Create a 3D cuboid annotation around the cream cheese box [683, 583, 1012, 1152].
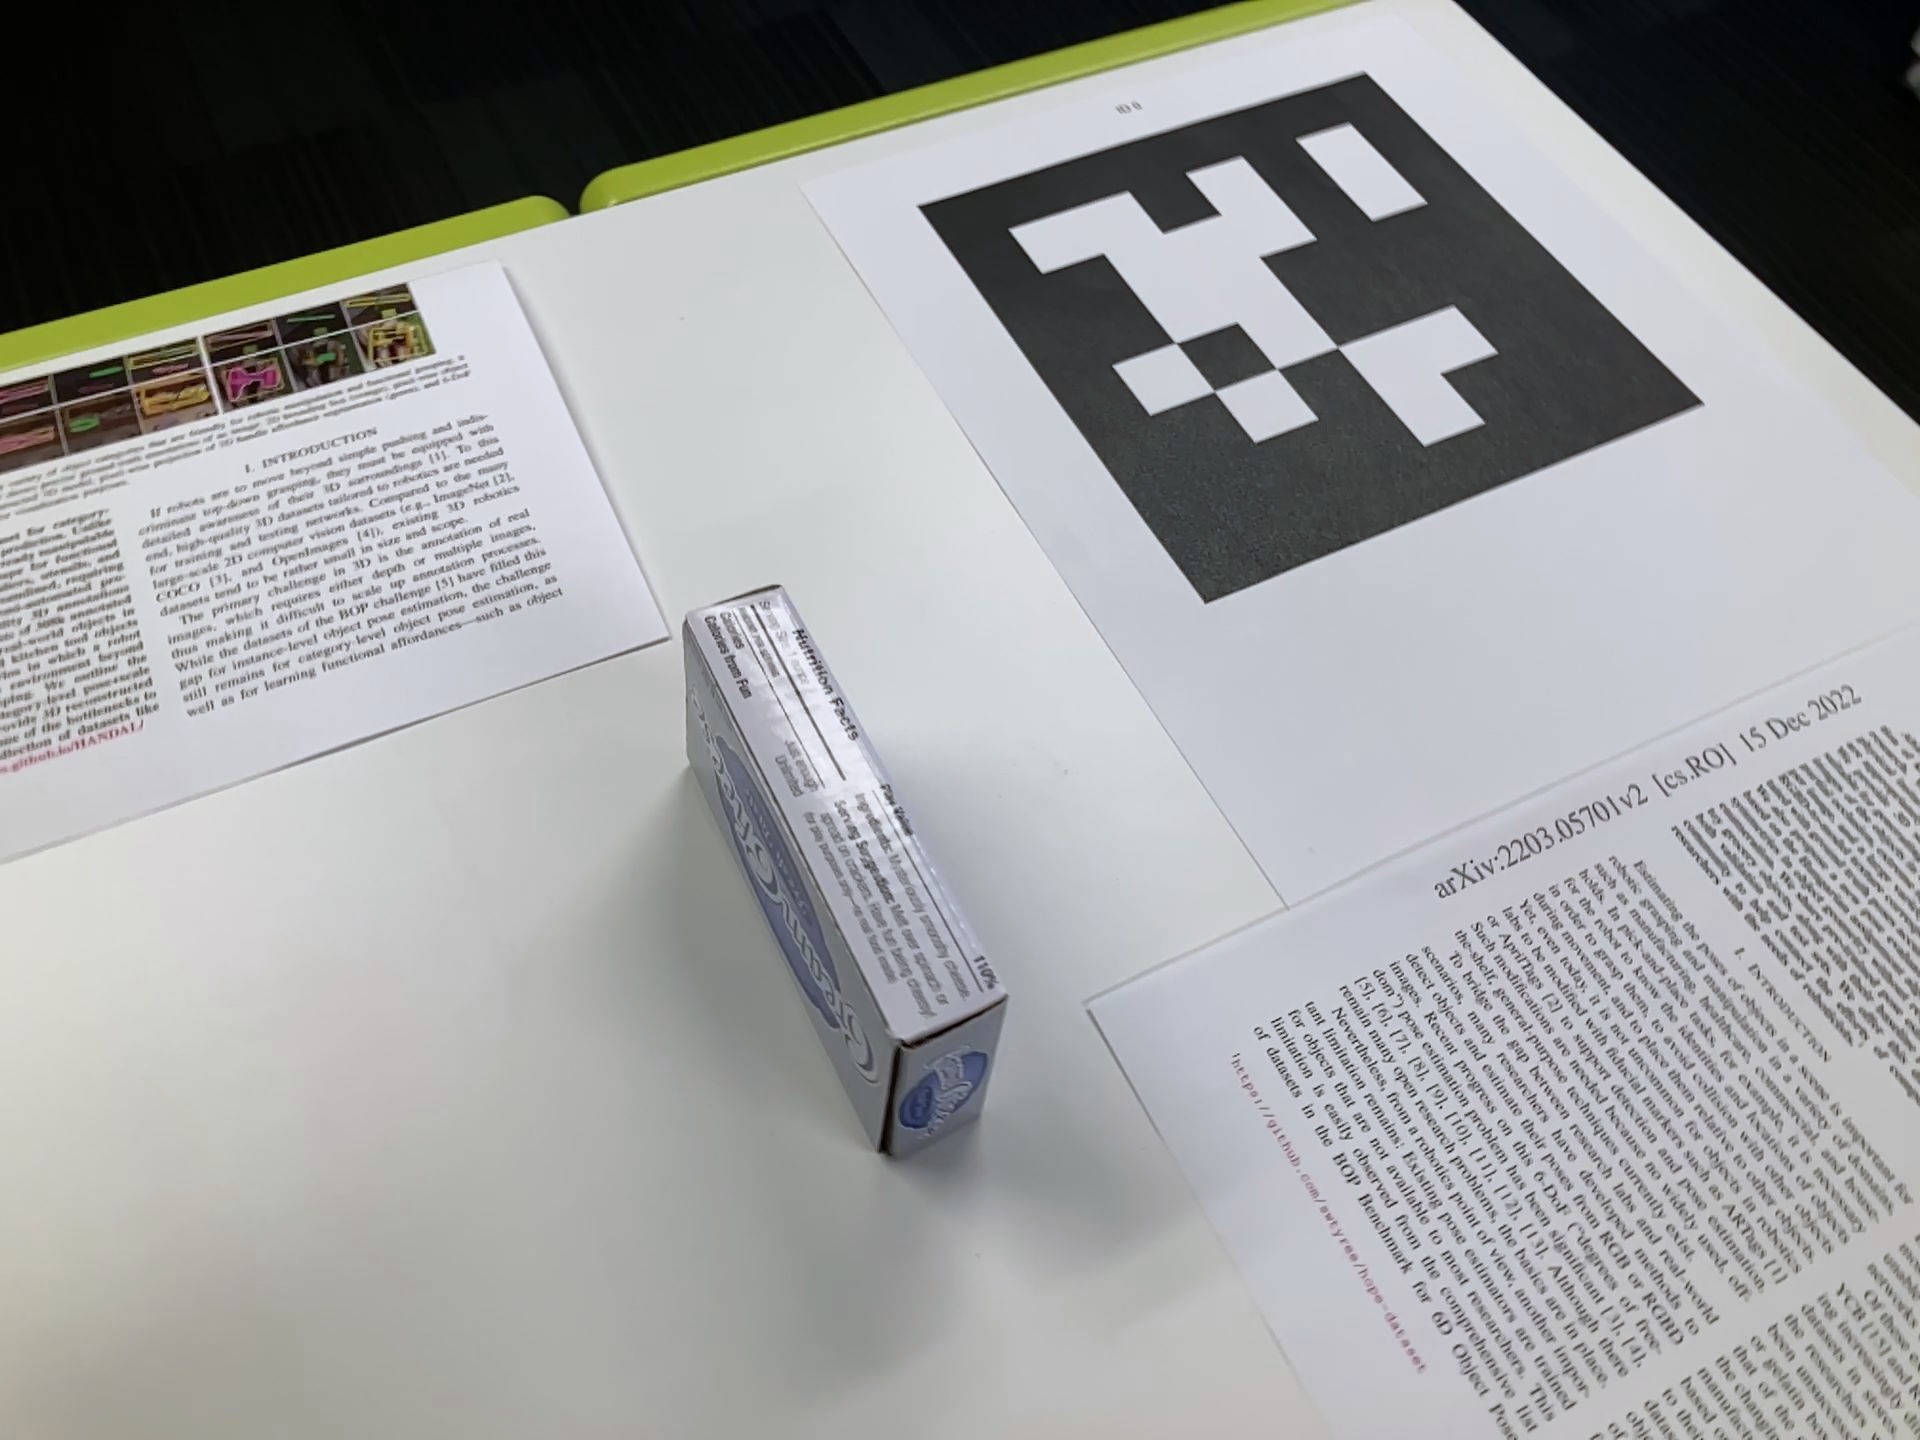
[{"bbox_3d":[-0.026,0.028,0.316,0.024,0.053,0.104,-21,61,-19],"label":"cream cheese box"}]
